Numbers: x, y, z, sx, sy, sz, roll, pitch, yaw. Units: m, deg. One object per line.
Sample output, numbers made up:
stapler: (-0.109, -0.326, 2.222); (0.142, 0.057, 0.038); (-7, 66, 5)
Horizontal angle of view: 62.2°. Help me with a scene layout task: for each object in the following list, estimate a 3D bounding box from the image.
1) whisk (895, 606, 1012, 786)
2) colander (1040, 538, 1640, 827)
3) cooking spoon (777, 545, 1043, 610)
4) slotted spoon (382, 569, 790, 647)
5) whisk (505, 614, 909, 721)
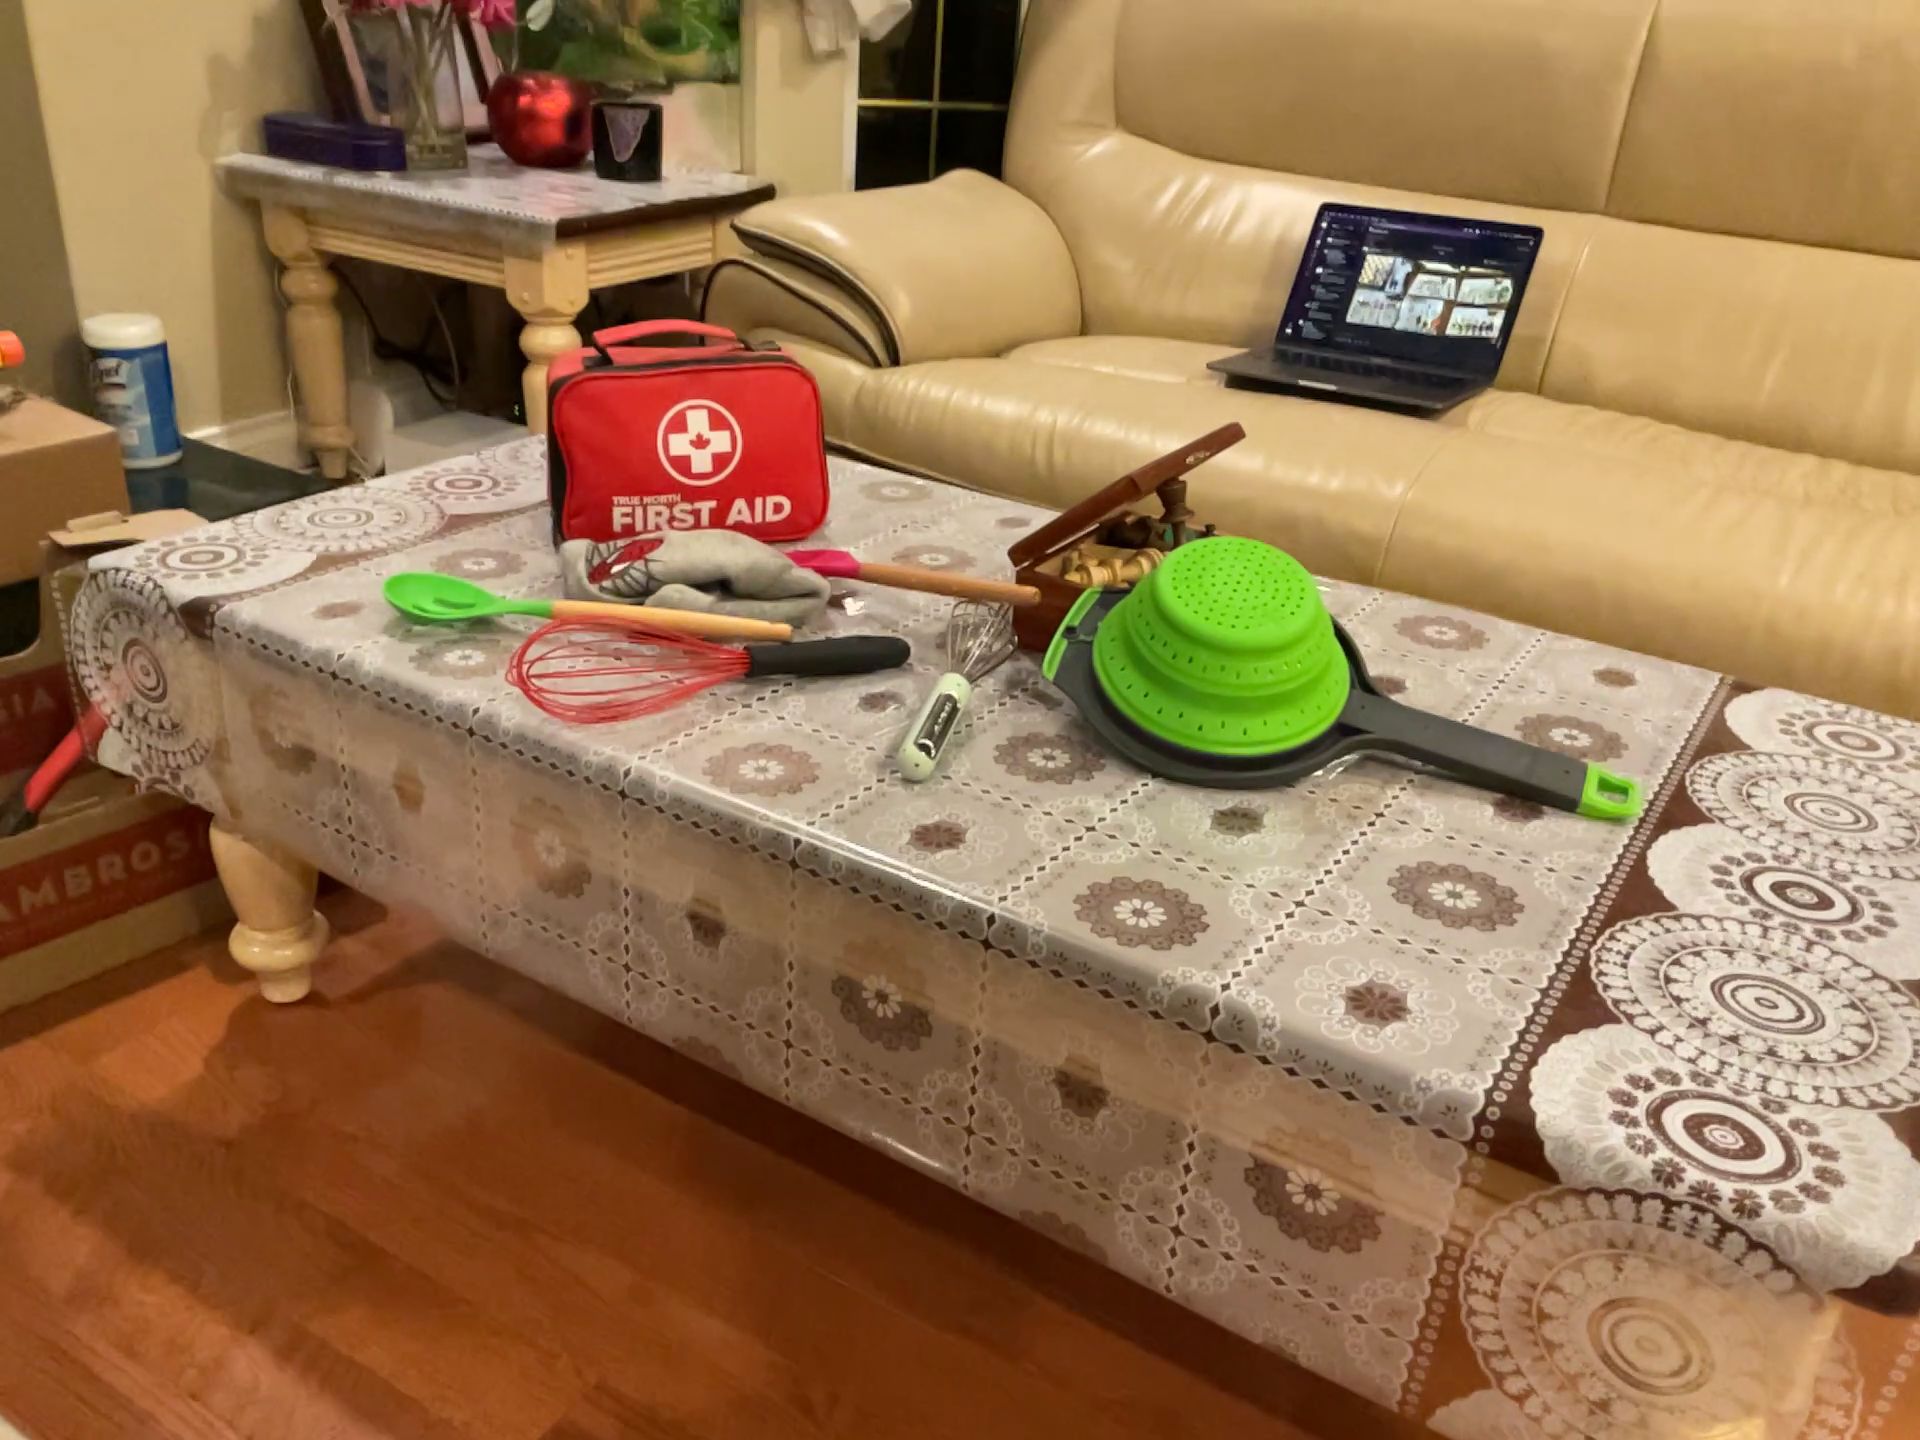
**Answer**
whisk: (-0.003, -0.019, 1.101); (0.058, 0.059, 0.246); (-32, 15, 26)
colander: (0.253, -0.029, 1.043); (0.397, 0.094, 0.205); (19, 48, 14)
cooking spoon: (-0.058, -0.113, 1.242); (0.319, 0.017, 0.069); (14, 27, 43)
slotted spoon: (-0.274, -0.076, 1.161); (0.314, 0.031, 0.070); (7, 26, 12)
whisk: (-0.166, -0.040, 1.099); (0.295, 0.073, 0.073); (-4, 20, -31)
